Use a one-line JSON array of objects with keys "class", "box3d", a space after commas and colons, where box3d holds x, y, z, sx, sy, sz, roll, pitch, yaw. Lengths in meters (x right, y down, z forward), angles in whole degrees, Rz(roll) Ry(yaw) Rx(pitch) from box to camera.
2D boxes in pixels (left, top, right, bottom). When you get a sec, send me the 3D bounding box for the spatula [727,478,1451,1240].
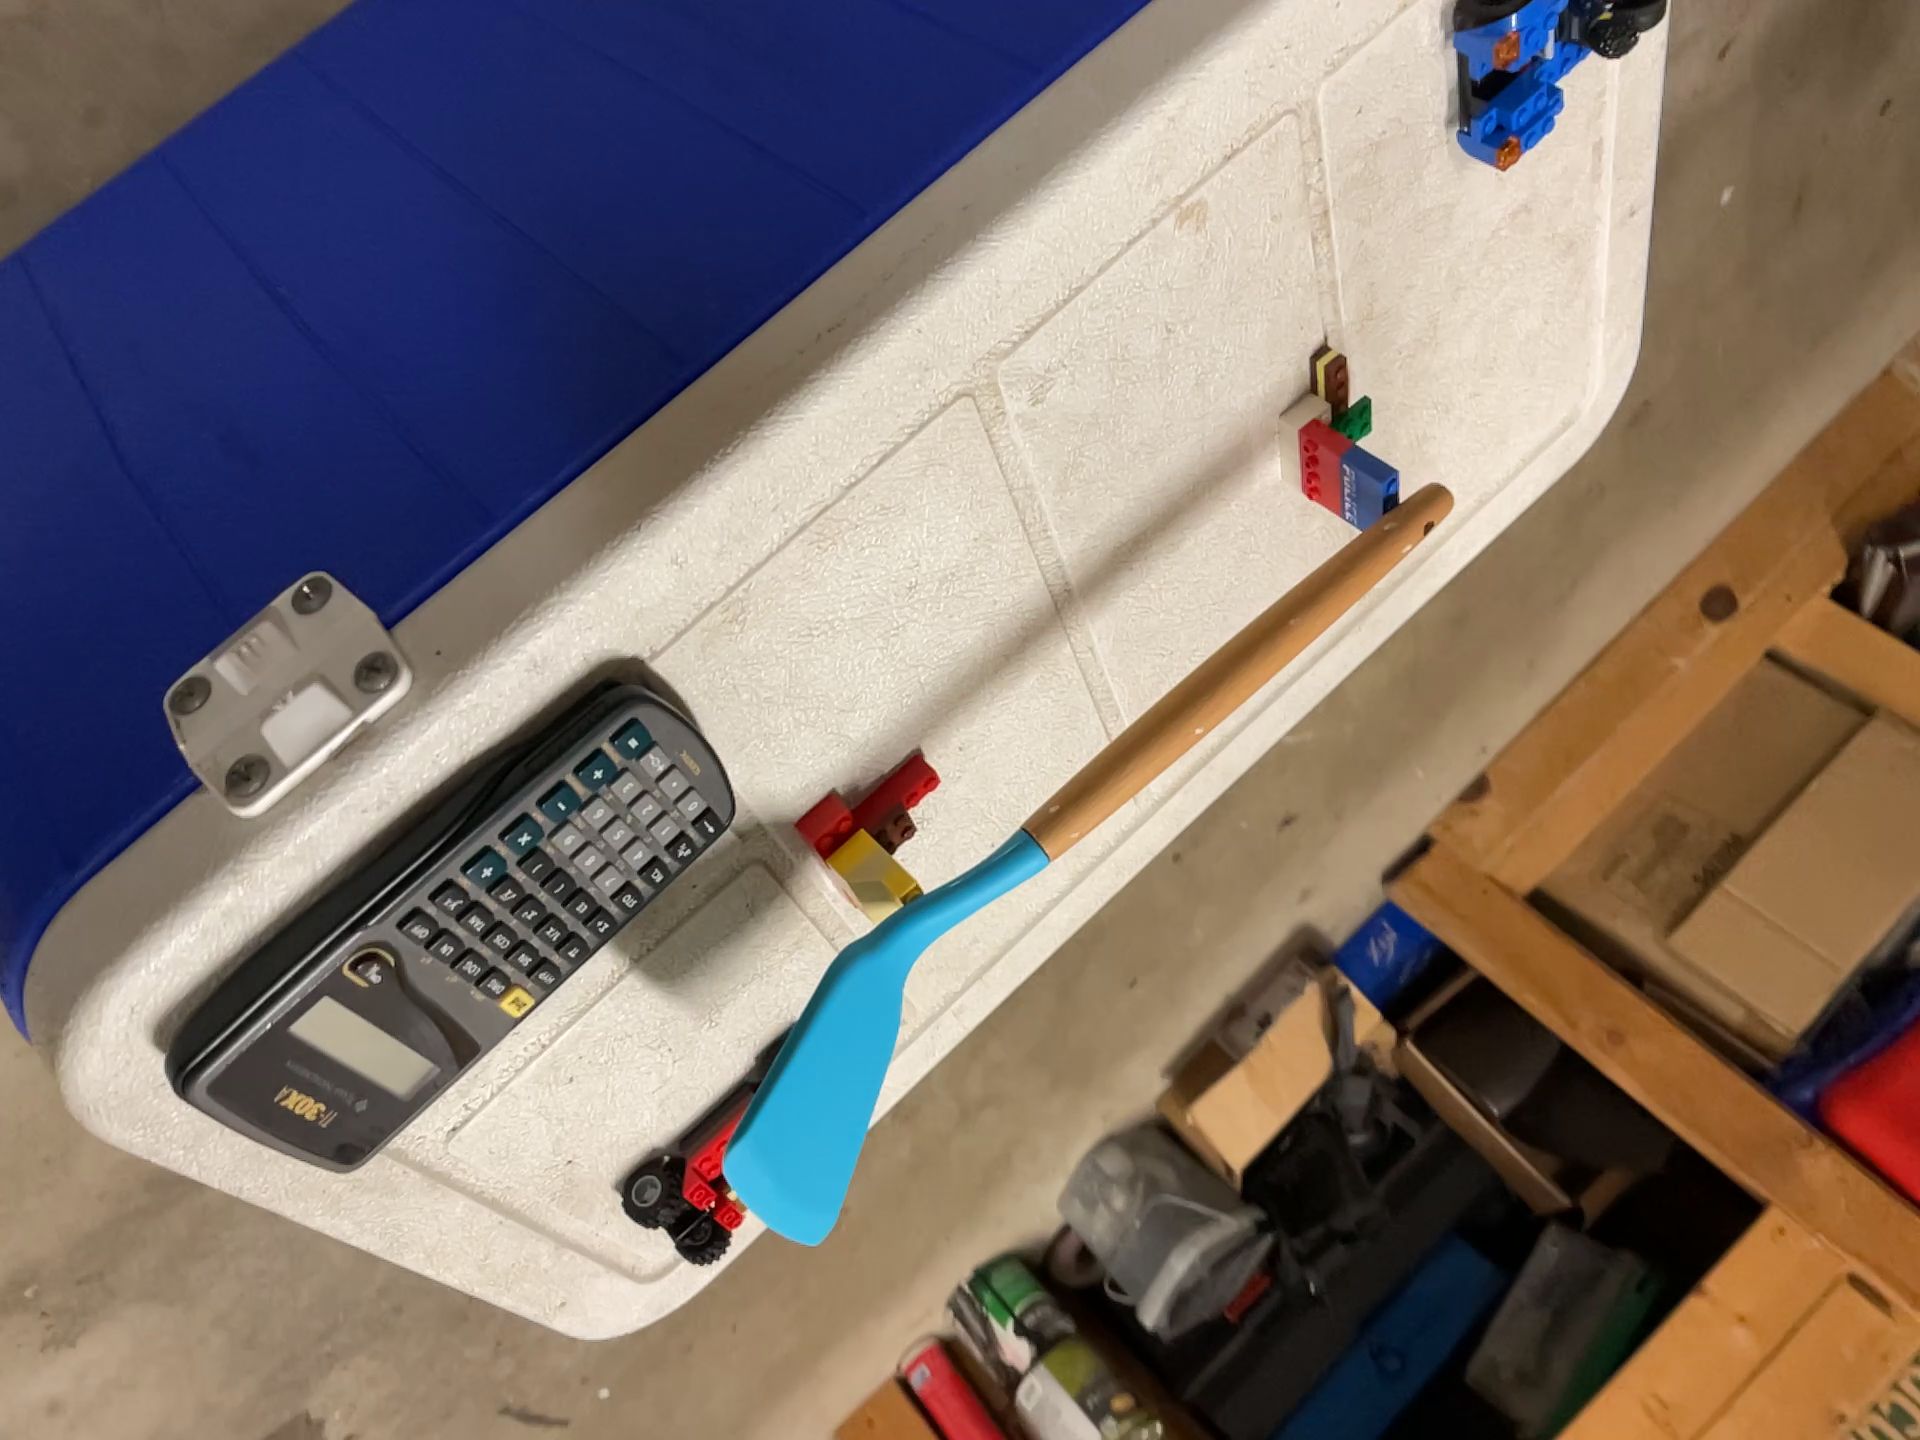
[{"class": "spatula", "box3d": [0.051, 0.029, 0.503, 0.317, 0.044, 0.082, -41, 143, -11]}]
